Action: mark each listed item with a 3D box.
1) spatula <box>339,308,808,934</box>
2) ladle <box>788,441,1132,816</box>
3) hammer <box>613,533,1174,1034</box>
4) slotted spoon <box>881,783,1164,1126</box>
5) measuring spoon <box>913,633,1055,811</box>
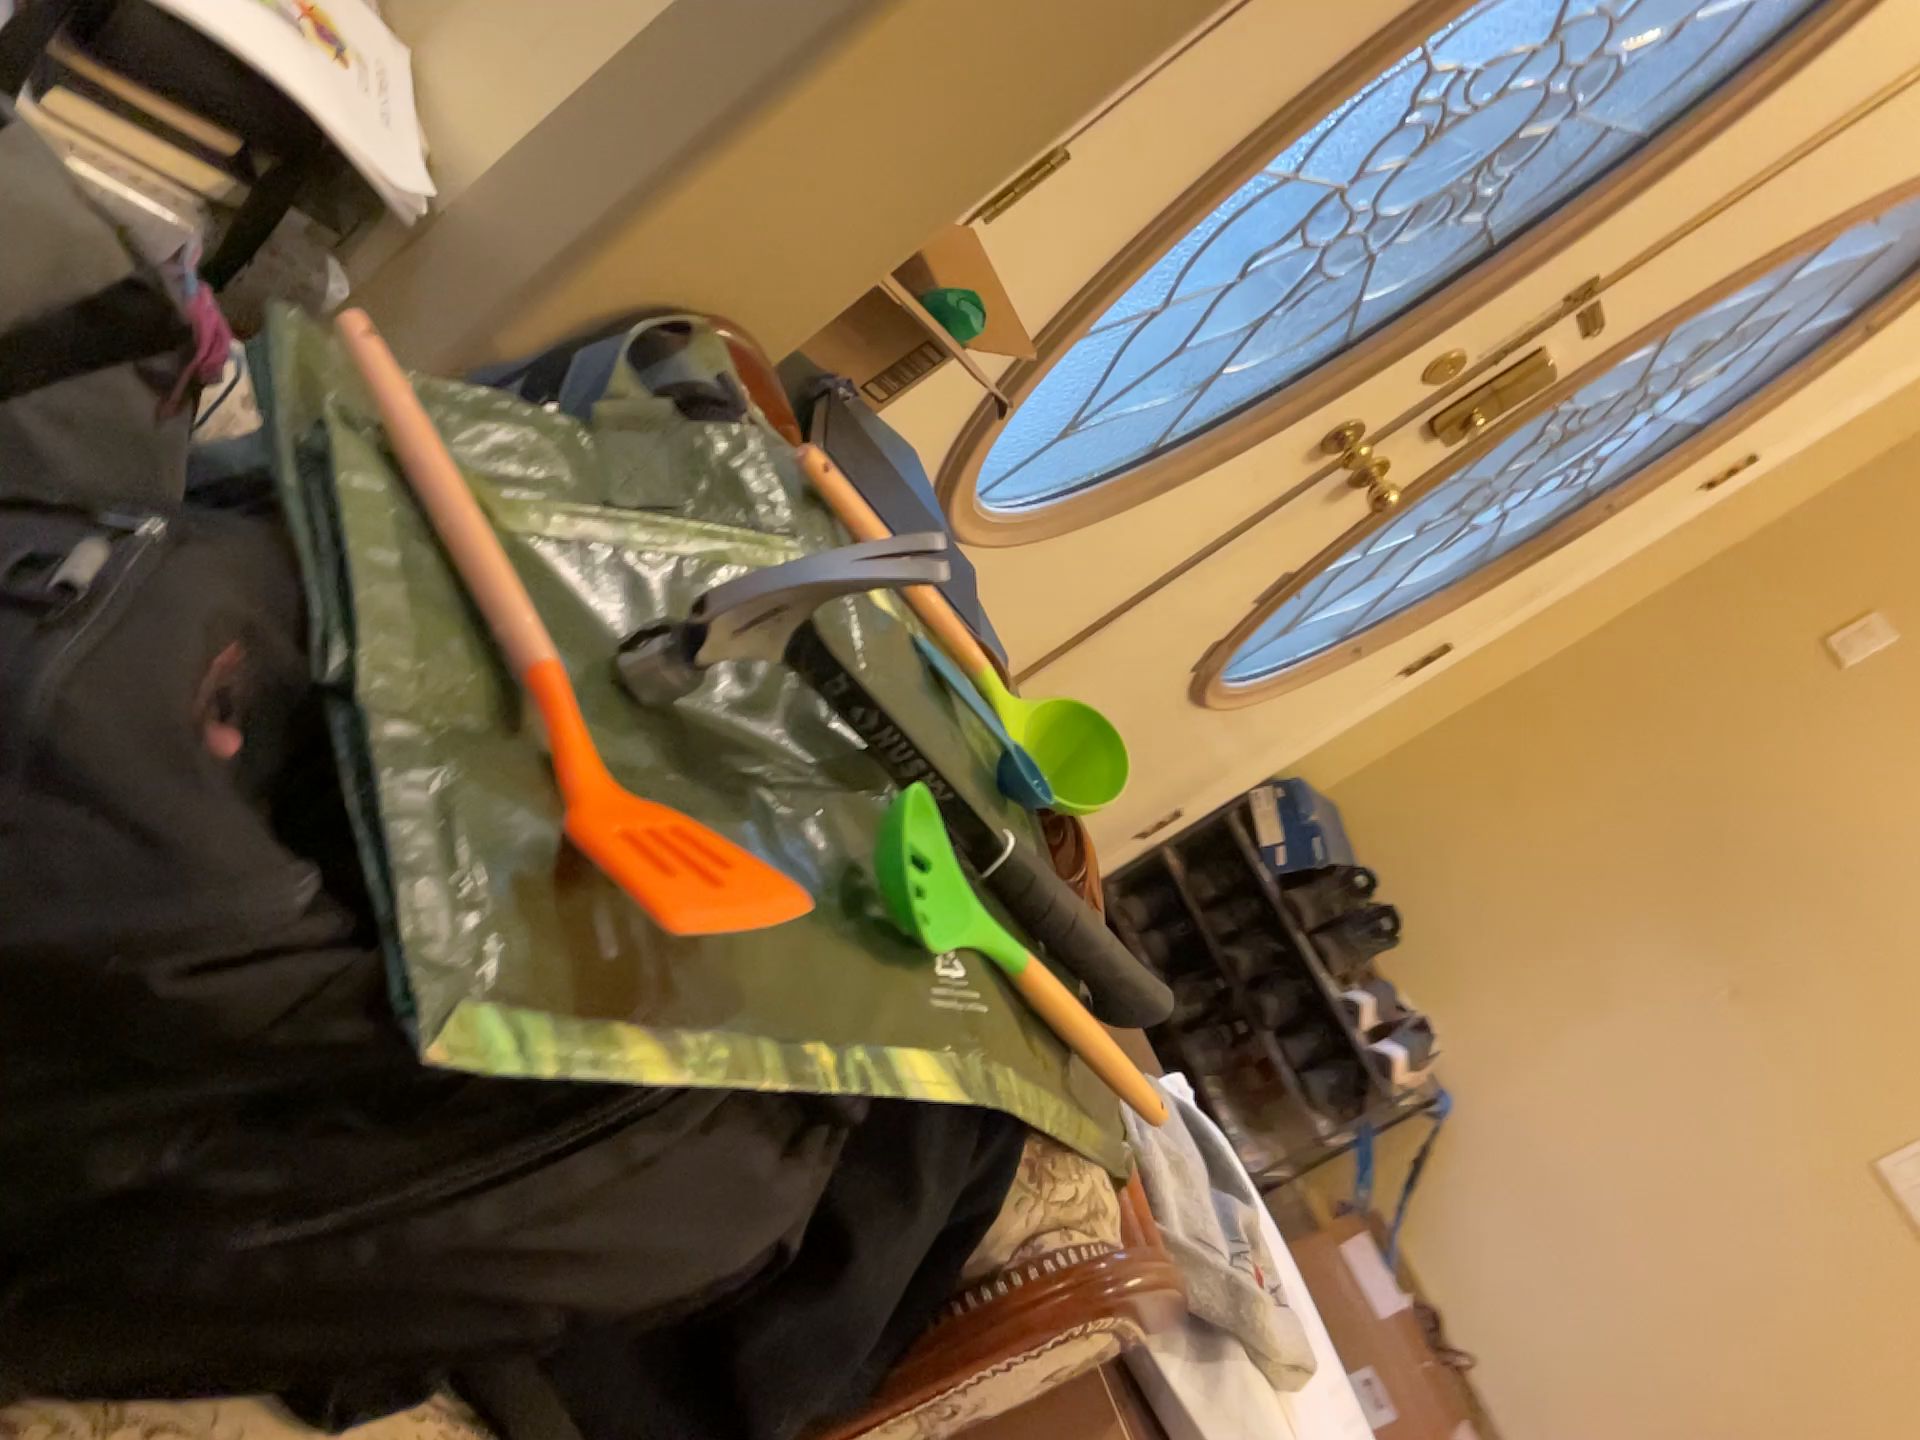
[{"bbox_3d":[-0.167,-0.045,0.610,0.323,0.041,0.081,58,25,19],"label":"spatula"},{"bbox_3d":[0.006,-0.048,0.902,0.319,0.062,0.078,49,42,-41],"label":"ladle"},{"bbox_3d":[0.013,0.056,0.792,0.408,0.149,0.036,49,26,-42],"label":"hammer"},{"bbox_3d":[0.037,0.131,0.765,0.313,0.031,0.070,52,30,-44],"label":"slotted spoon"},{"bbox_3d":[0.008,0.004,0.877,0.128,0.021,0.042,50,16,-21],"label":"measuring spoon"}]
